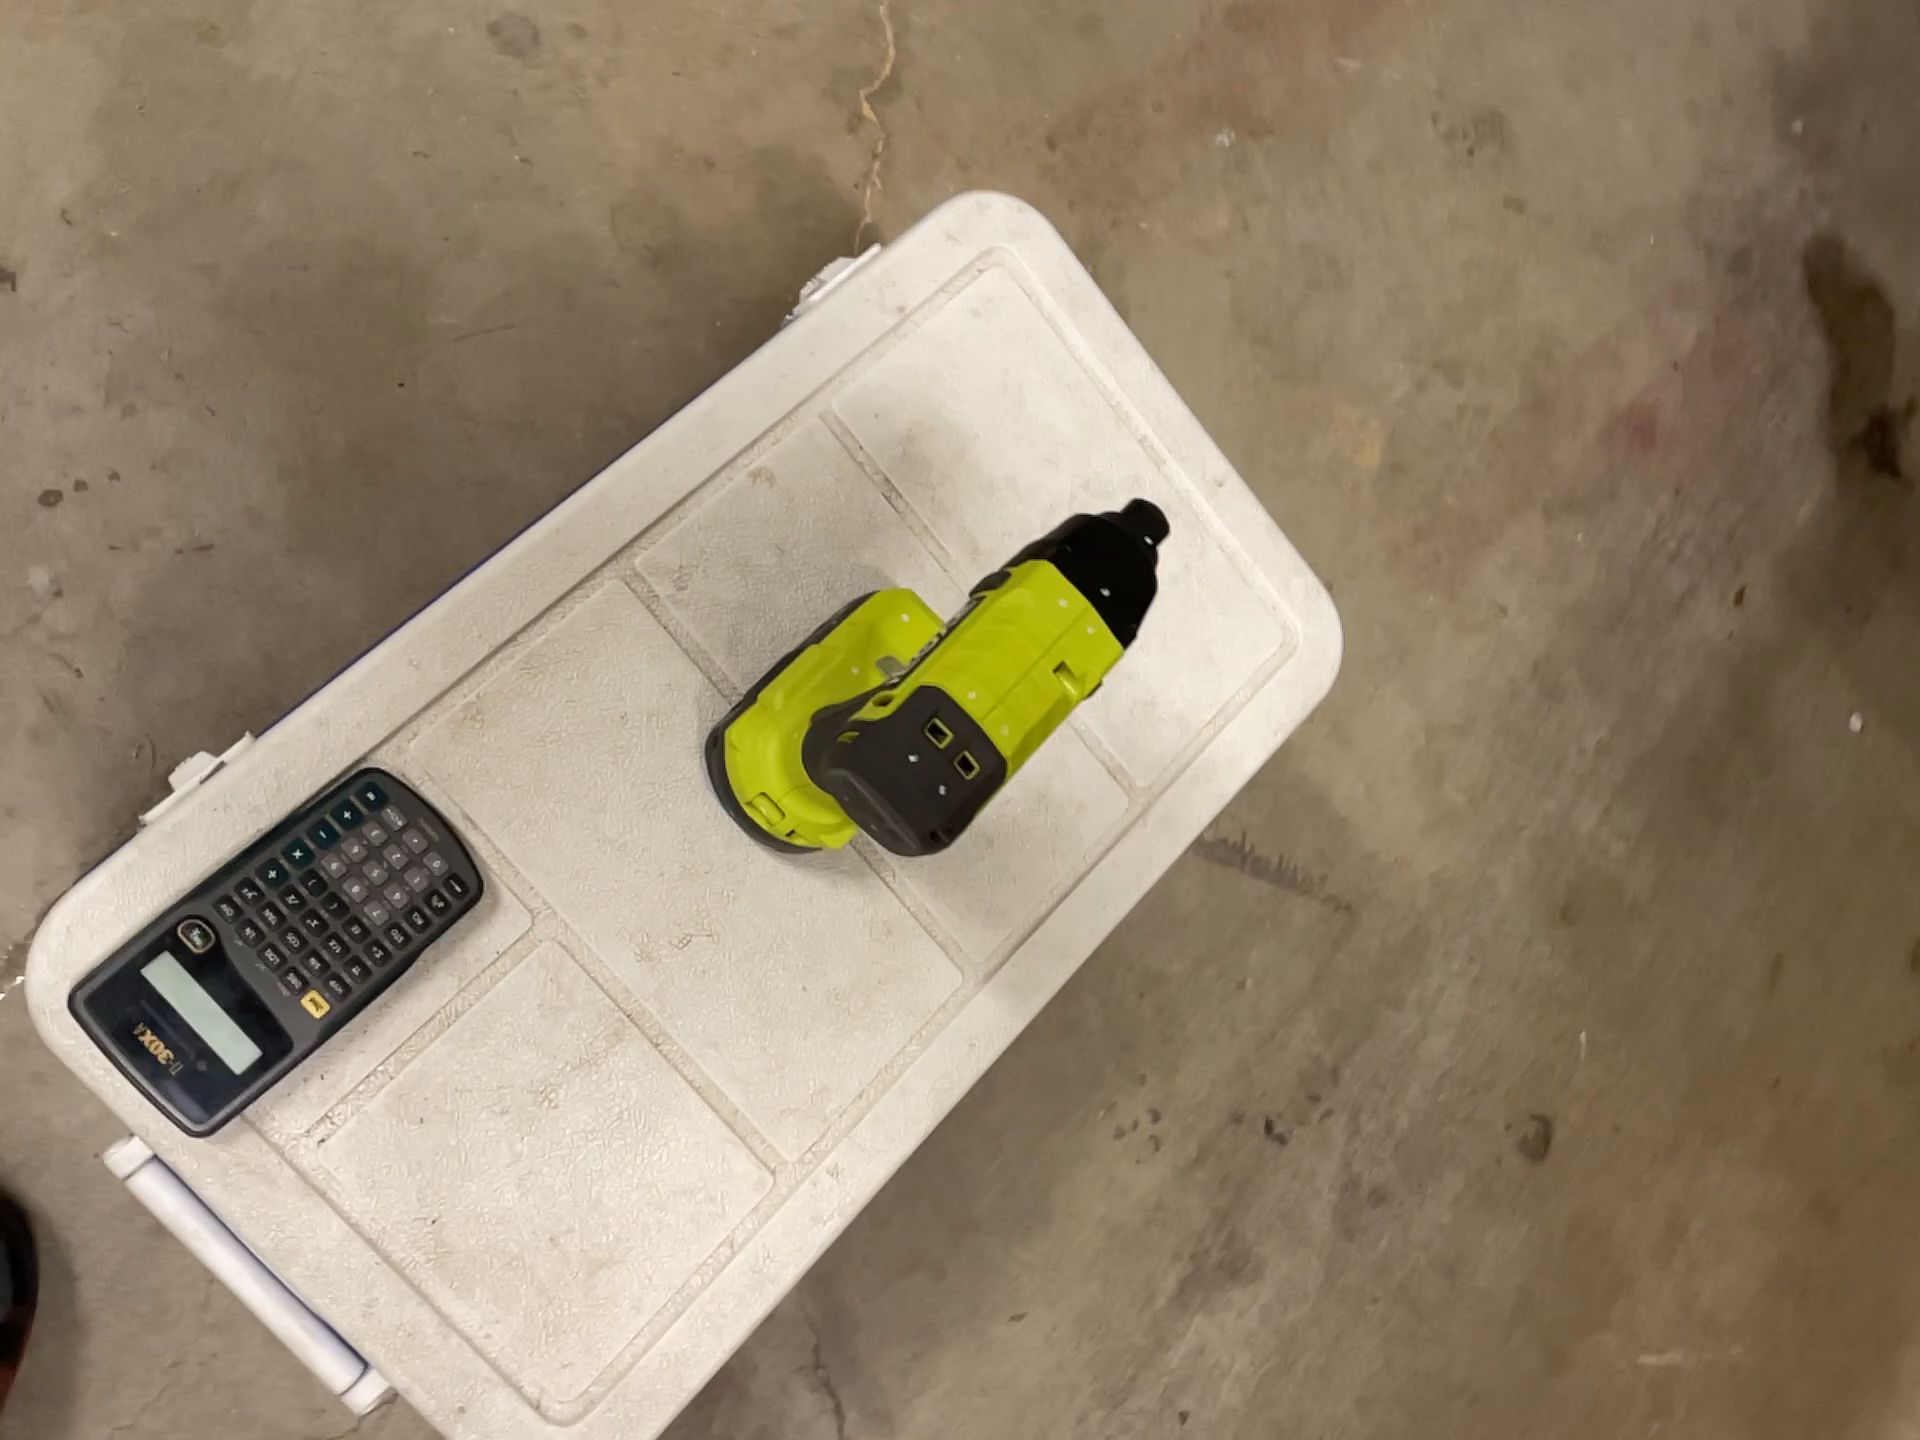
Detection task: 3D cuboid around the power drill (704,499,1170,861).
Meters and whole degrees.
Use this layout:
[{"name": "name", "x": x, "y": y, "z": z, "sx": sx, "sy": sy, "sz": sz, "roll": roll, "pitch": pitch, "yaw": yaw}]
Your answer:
[{"name": "power drill", "x": -0.013, "y": -0.014, "z": 0.676, "sx": 0.080, "sy": 0.223, "sz": 0.171, "roll": 49, "pitch": 67, "yaw": -13}]
